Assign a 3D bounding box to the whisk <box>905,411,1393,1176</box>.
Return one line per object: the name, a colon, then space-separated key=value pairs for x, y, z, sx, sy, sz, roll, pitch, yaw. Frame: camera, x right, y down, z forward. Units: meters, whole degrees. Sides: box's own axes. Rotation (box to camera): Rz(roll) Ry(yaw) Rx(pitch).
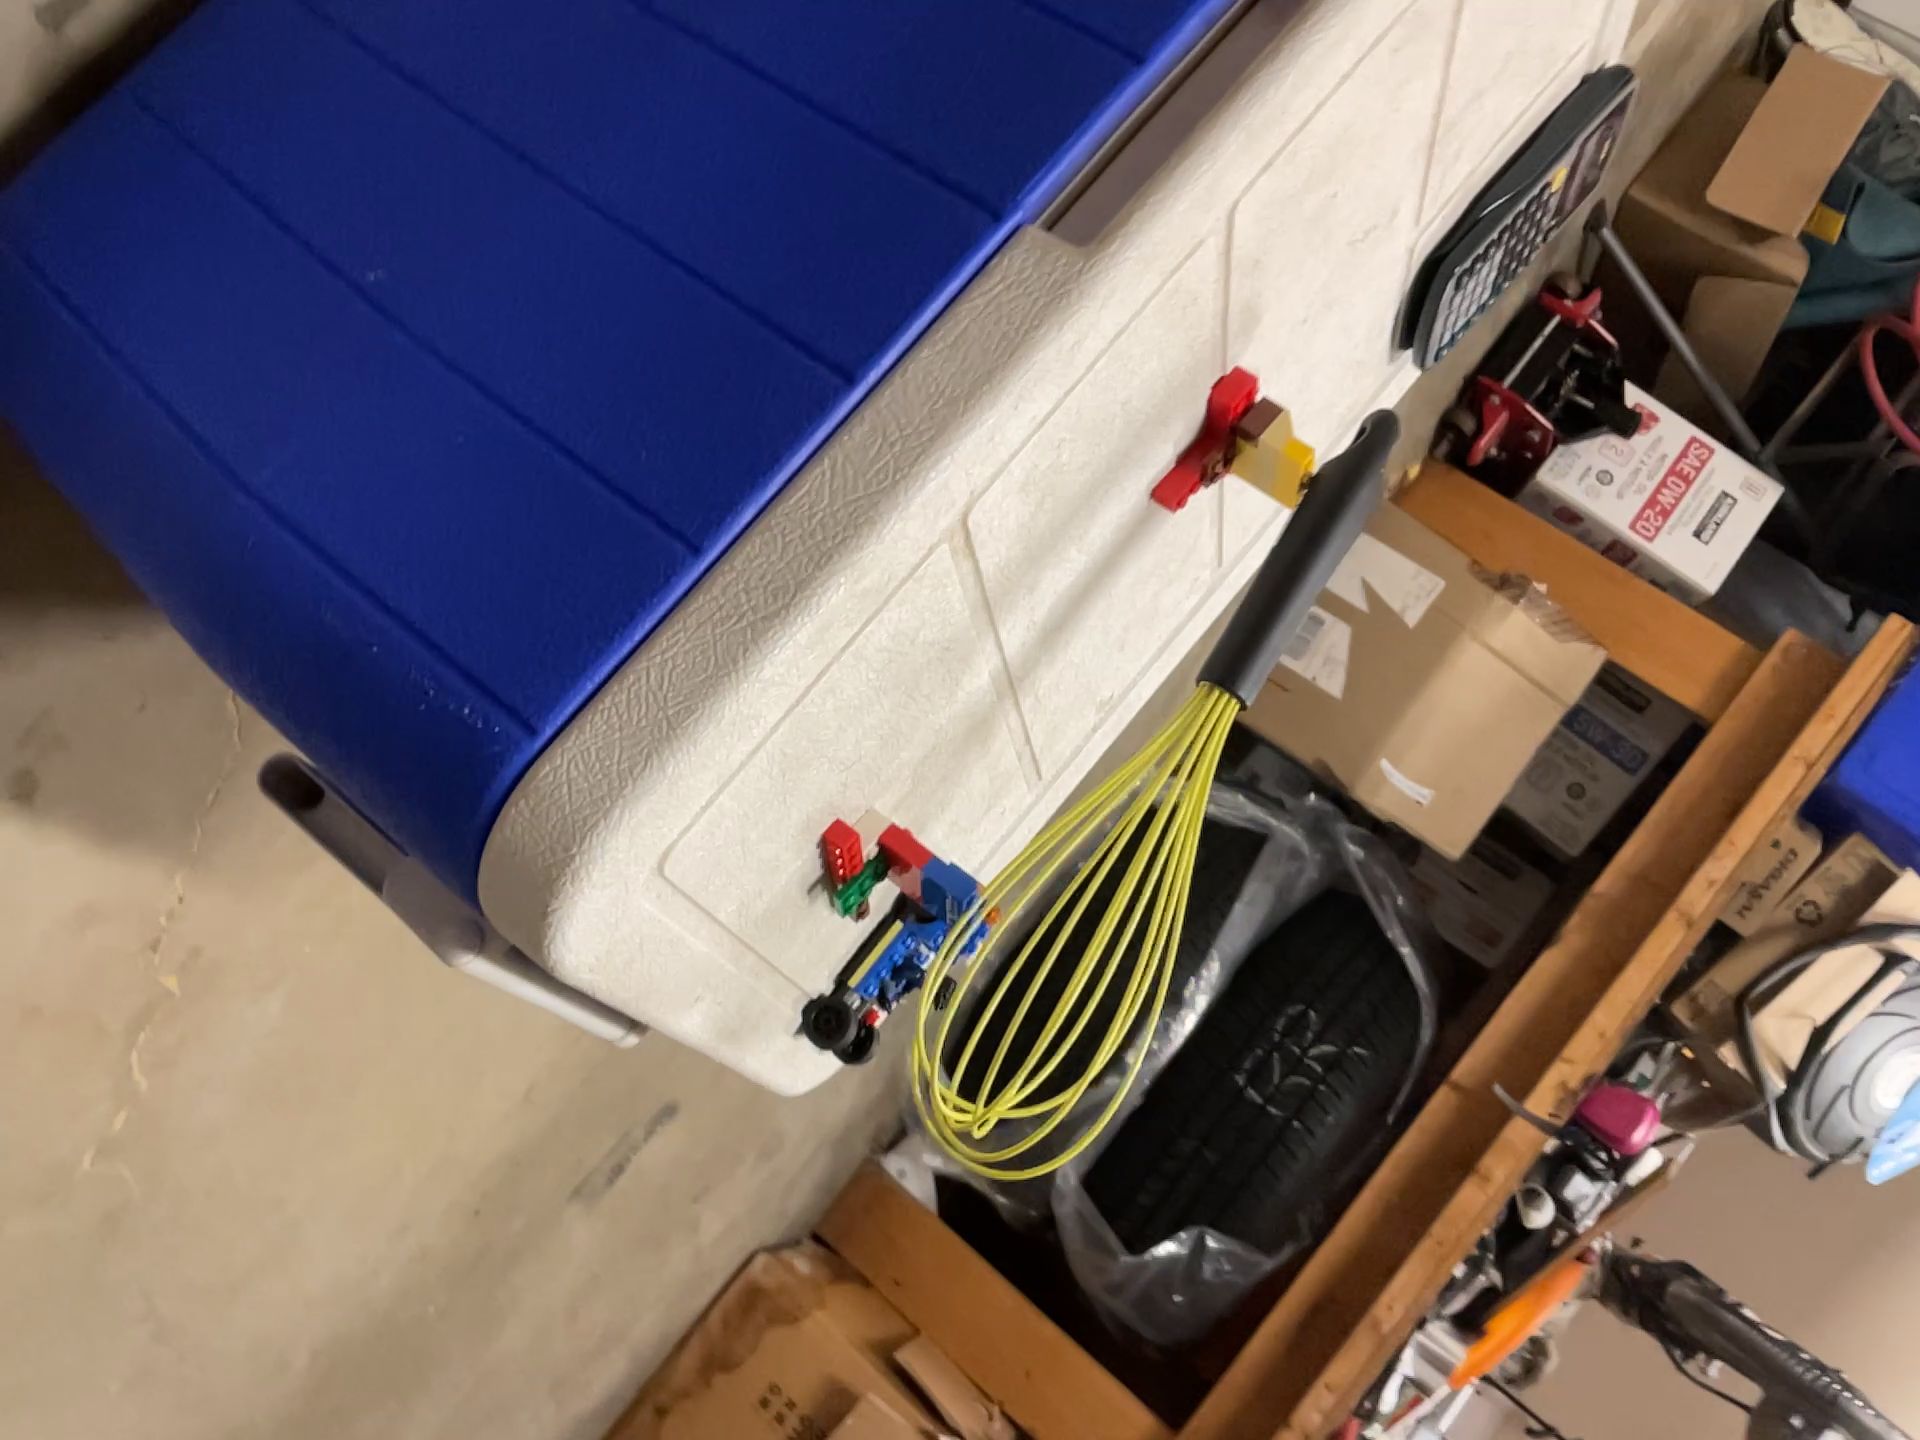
whisk: x=0.075 y=0.015 z=0.561 sx=0.312 sy=0.067 sz=0.080 roll=-58 pitch=-152 yaw=-11
